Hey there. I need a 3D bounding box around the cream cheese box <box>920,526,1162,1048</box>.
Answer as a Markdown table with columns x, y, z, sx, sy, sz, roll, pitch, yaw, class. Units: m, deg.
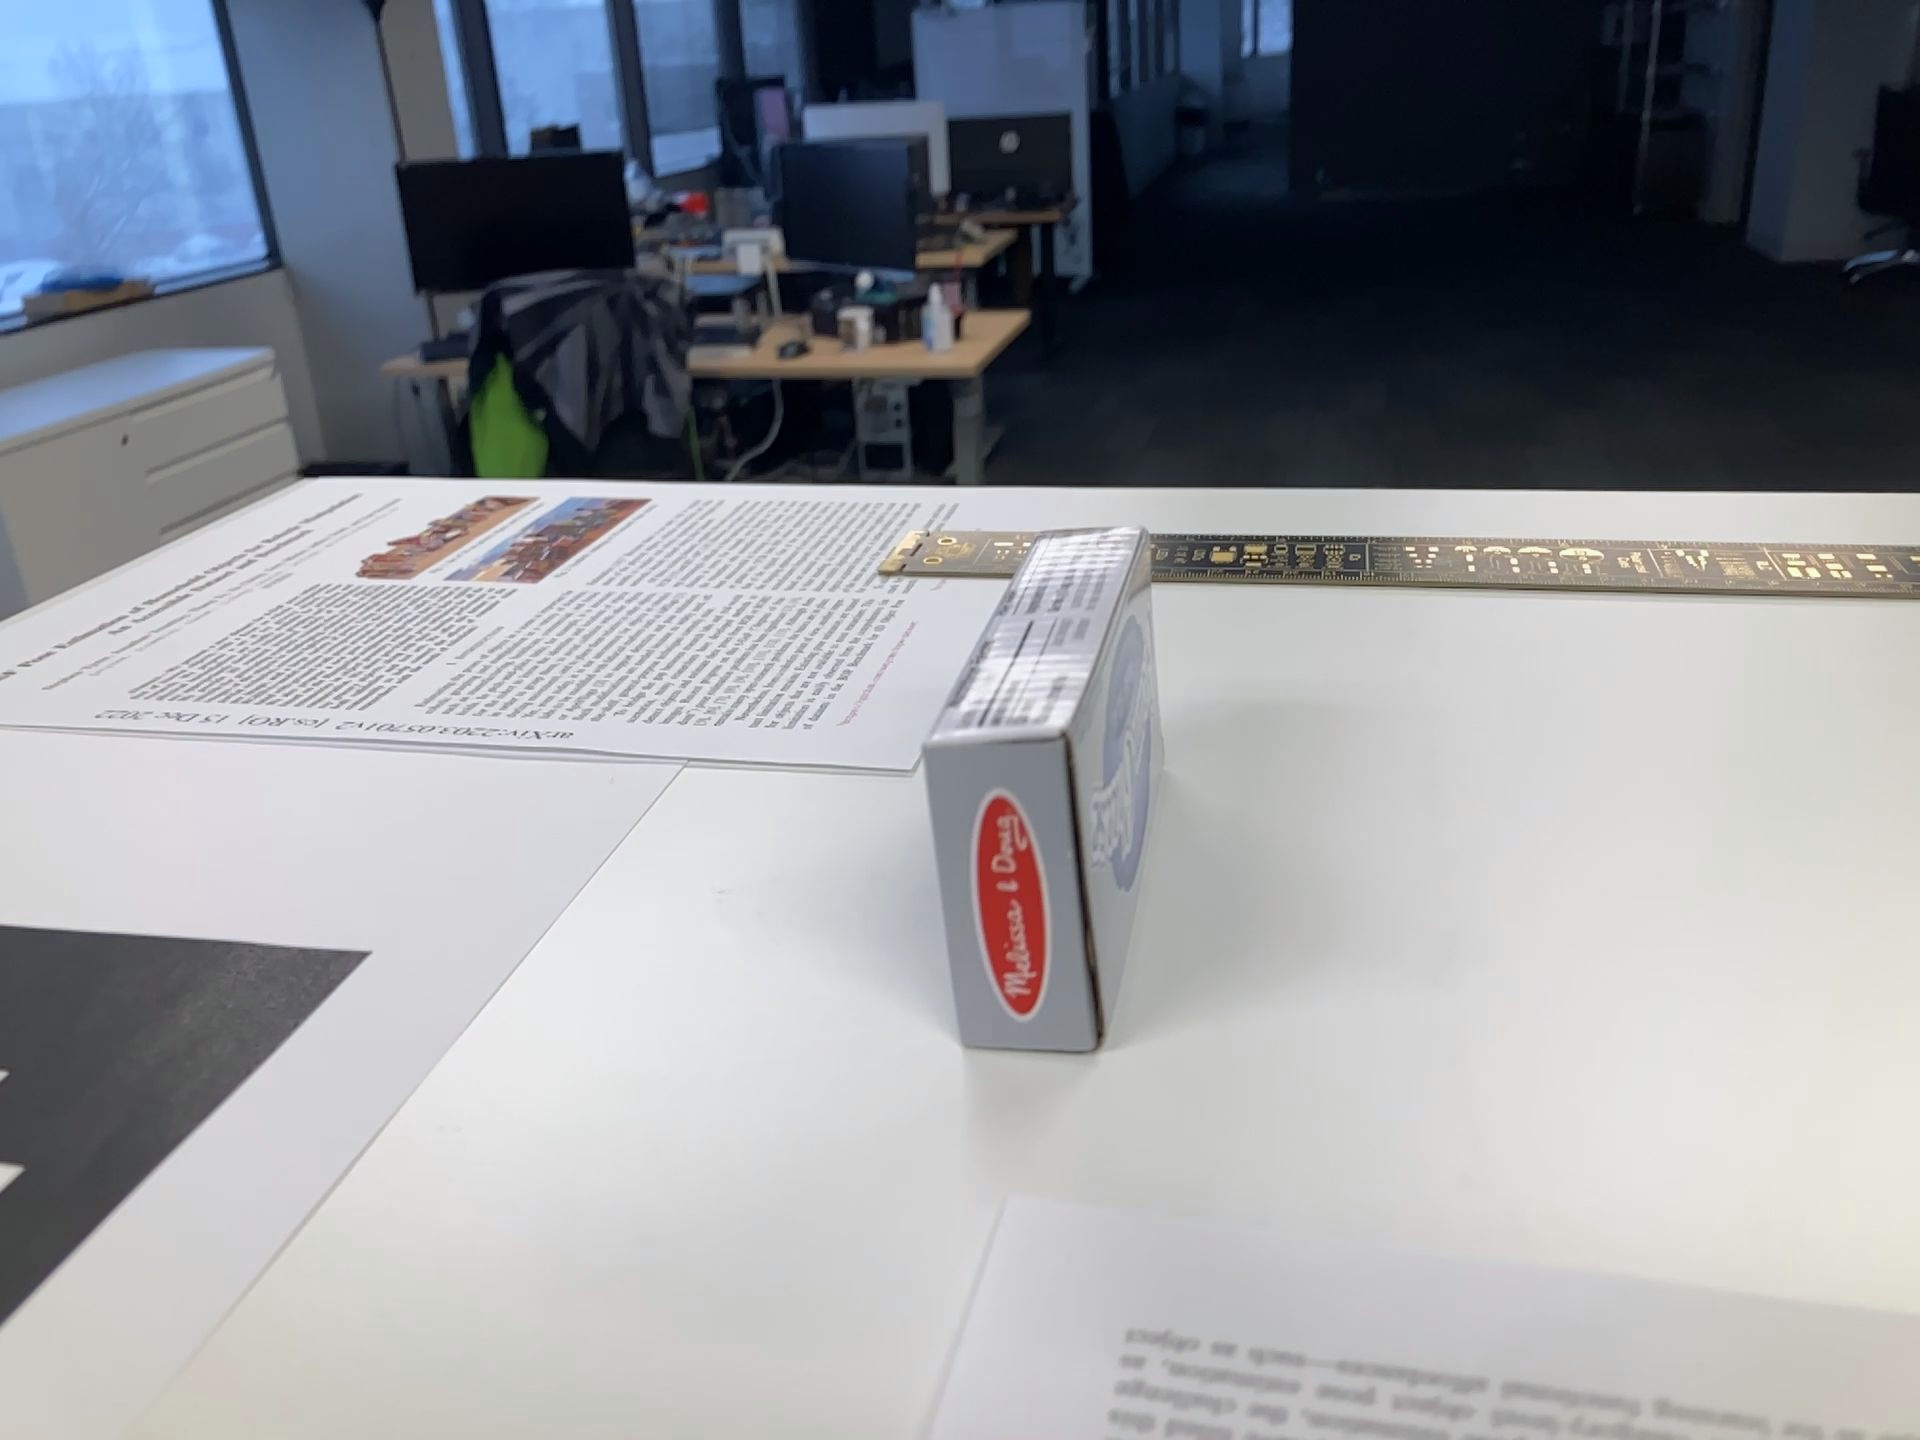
| x | y | z | sx | sy | sz | roll | pitch | yaw | class |
| --- | --- | --- | --- | --- | --- | --- | --- | --- | --- |
| 0.018 | 0.005 | 0.277 | 0.024 | 0.053 | 0.104 | 0 | 23 | 13 | cream cheese box |
